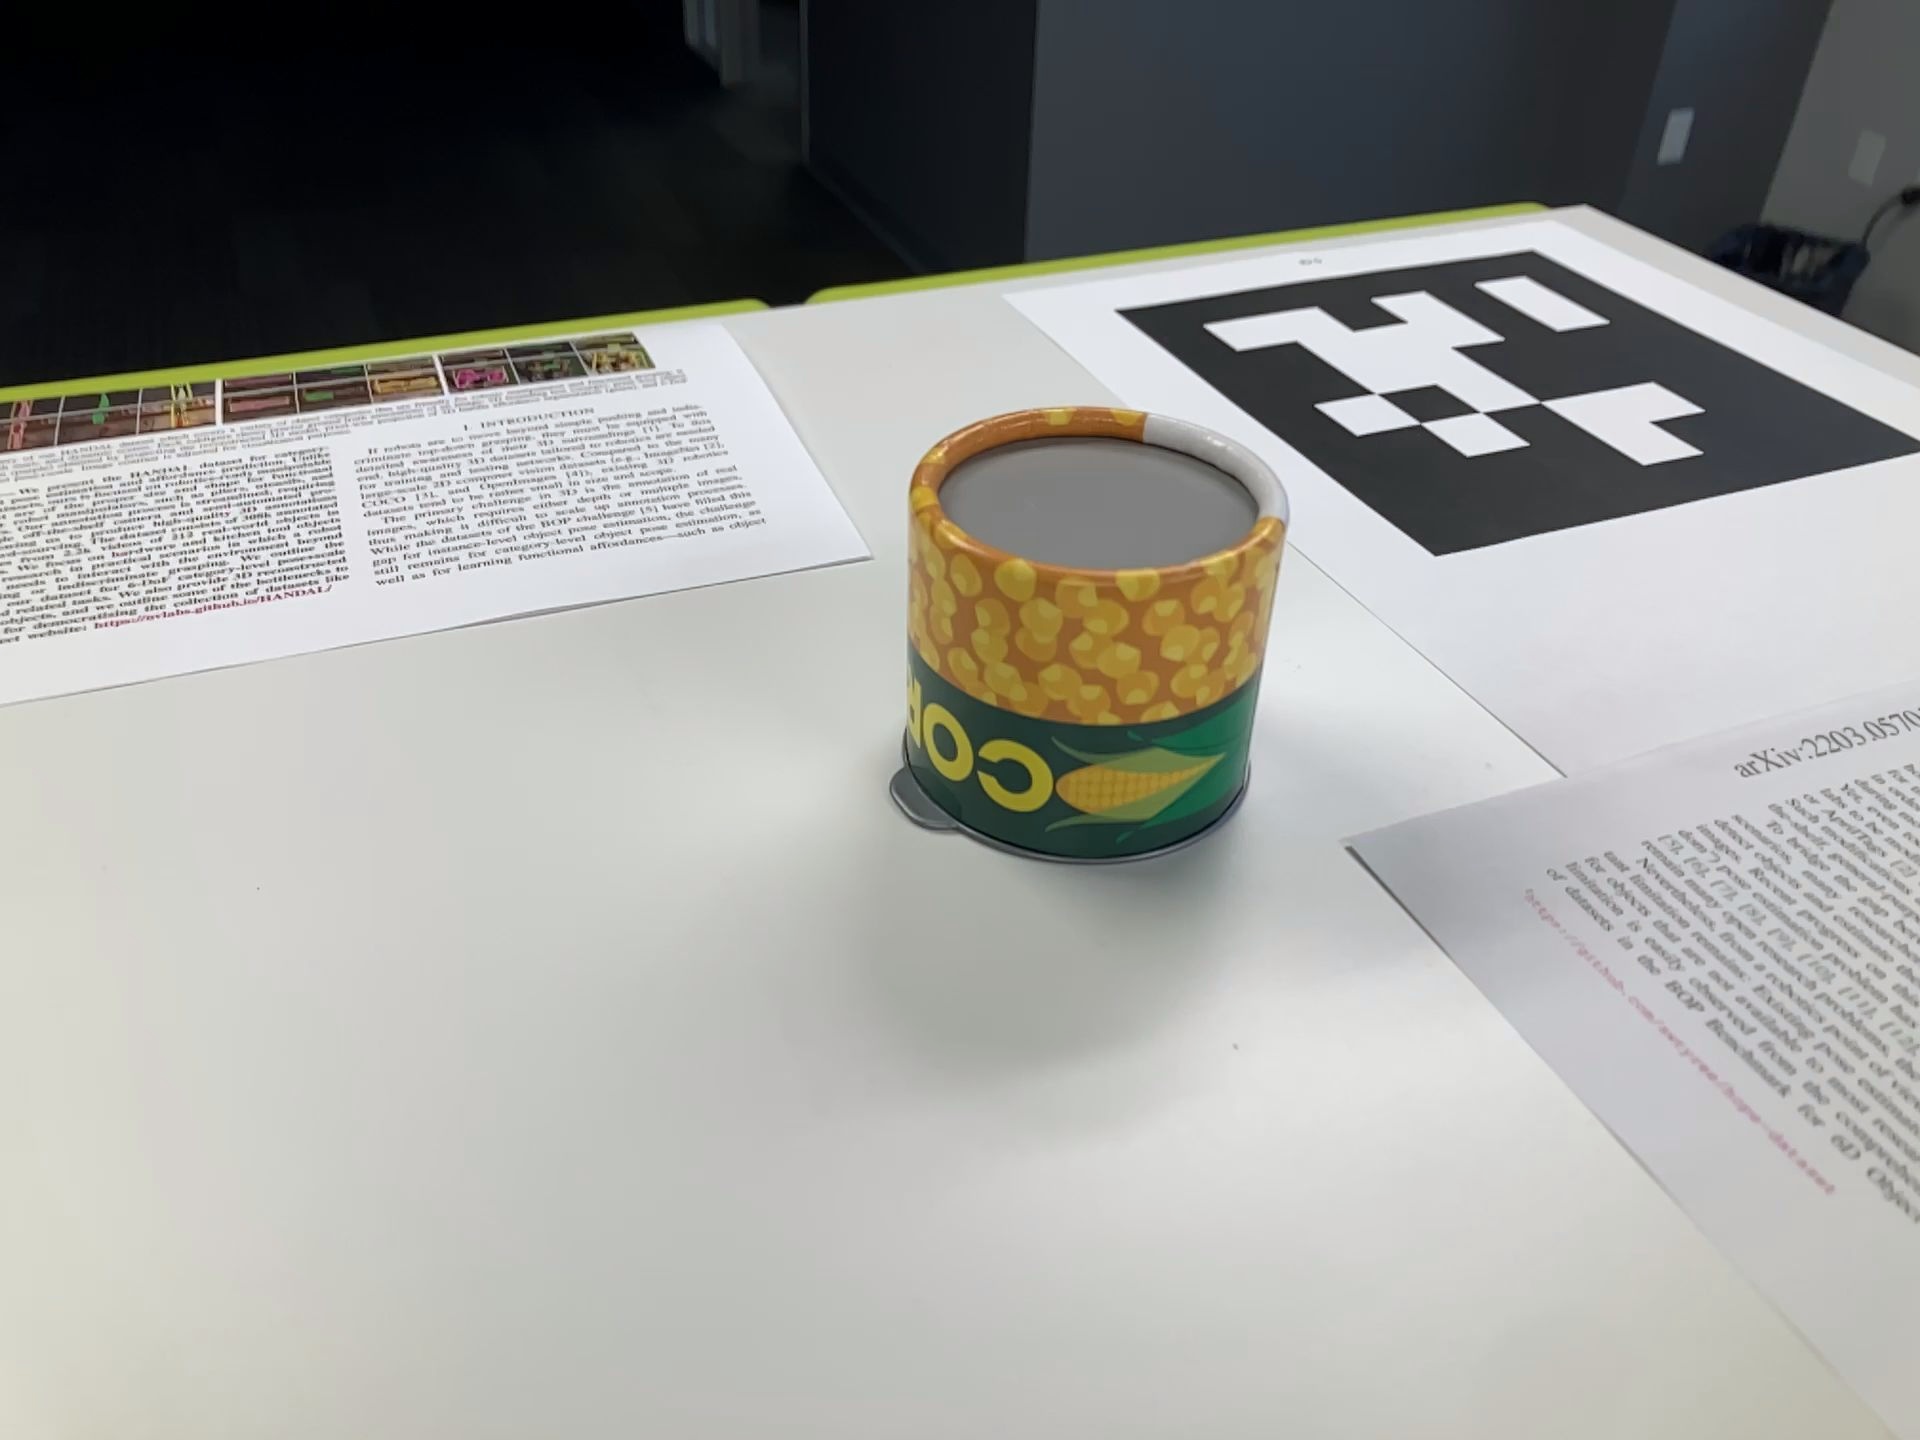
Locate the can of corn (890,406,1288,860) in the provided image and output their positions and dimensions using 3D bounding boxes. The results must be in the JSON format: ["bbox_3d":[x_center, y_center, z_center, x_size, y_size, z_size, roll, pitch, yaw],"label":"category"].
[{"bbox_3d":[0.021,-0.017,0.288,0.071,0.058,0.071,1,35,-1],"label":"can of corn"}]
